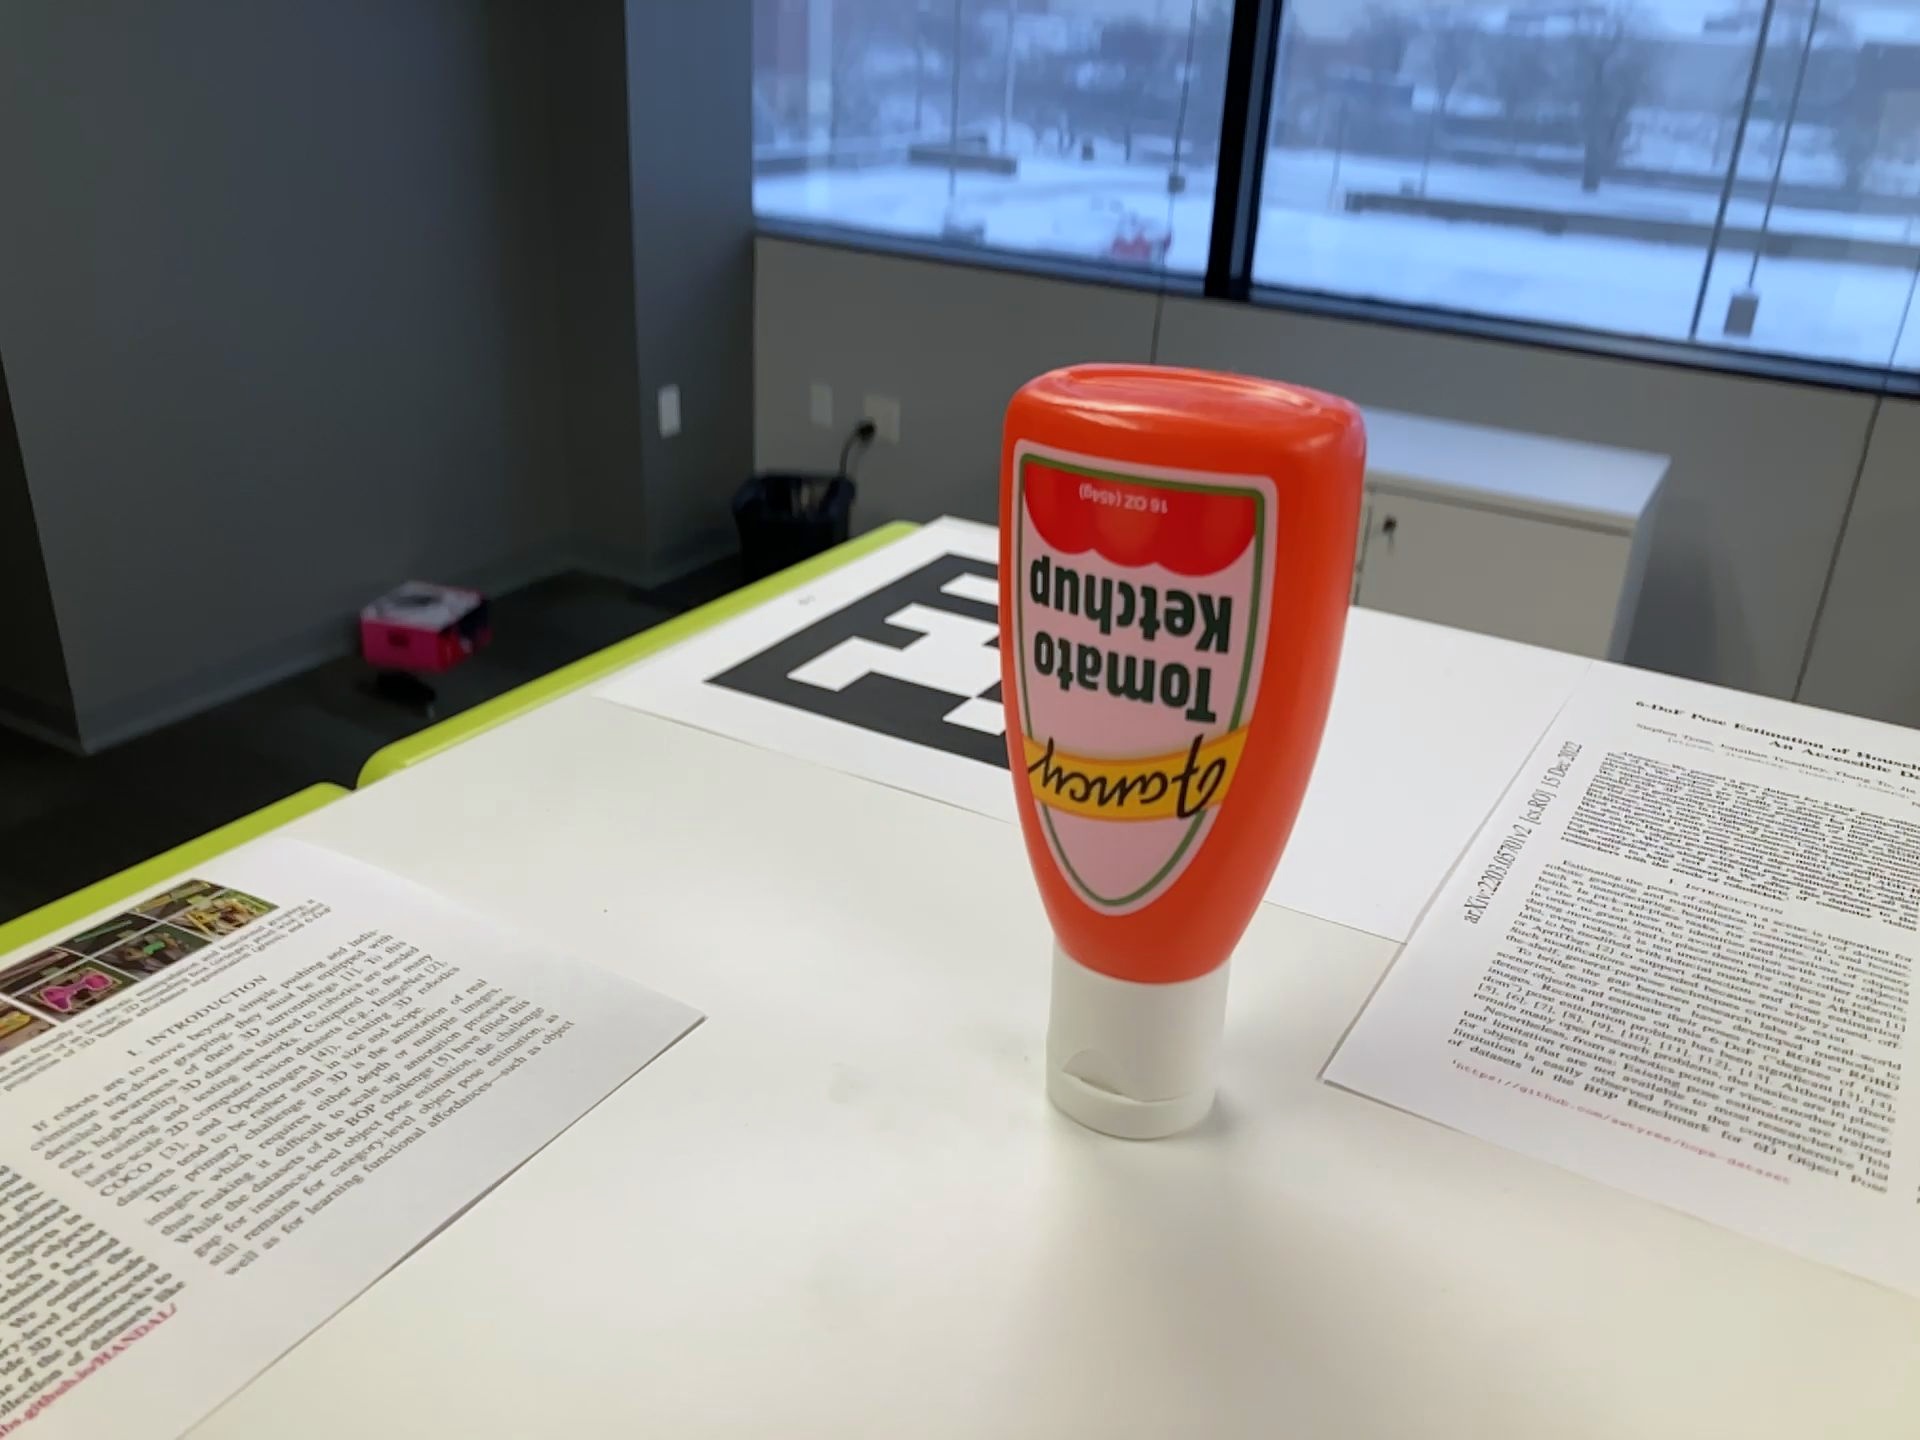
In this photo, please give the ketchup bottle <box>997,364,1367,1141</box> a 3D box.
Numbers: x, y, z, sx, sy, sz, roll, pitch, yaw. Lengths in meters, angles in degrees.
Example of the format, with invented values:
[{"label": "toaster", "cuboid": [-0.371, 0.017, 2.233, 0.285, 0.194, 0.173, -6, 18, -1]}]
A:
[{"label": "ketchup bottle", "cuboid": [0.038, 0.010, 0.304, 0.065, 0.149, 0.043, 15, 28, 28]}]
